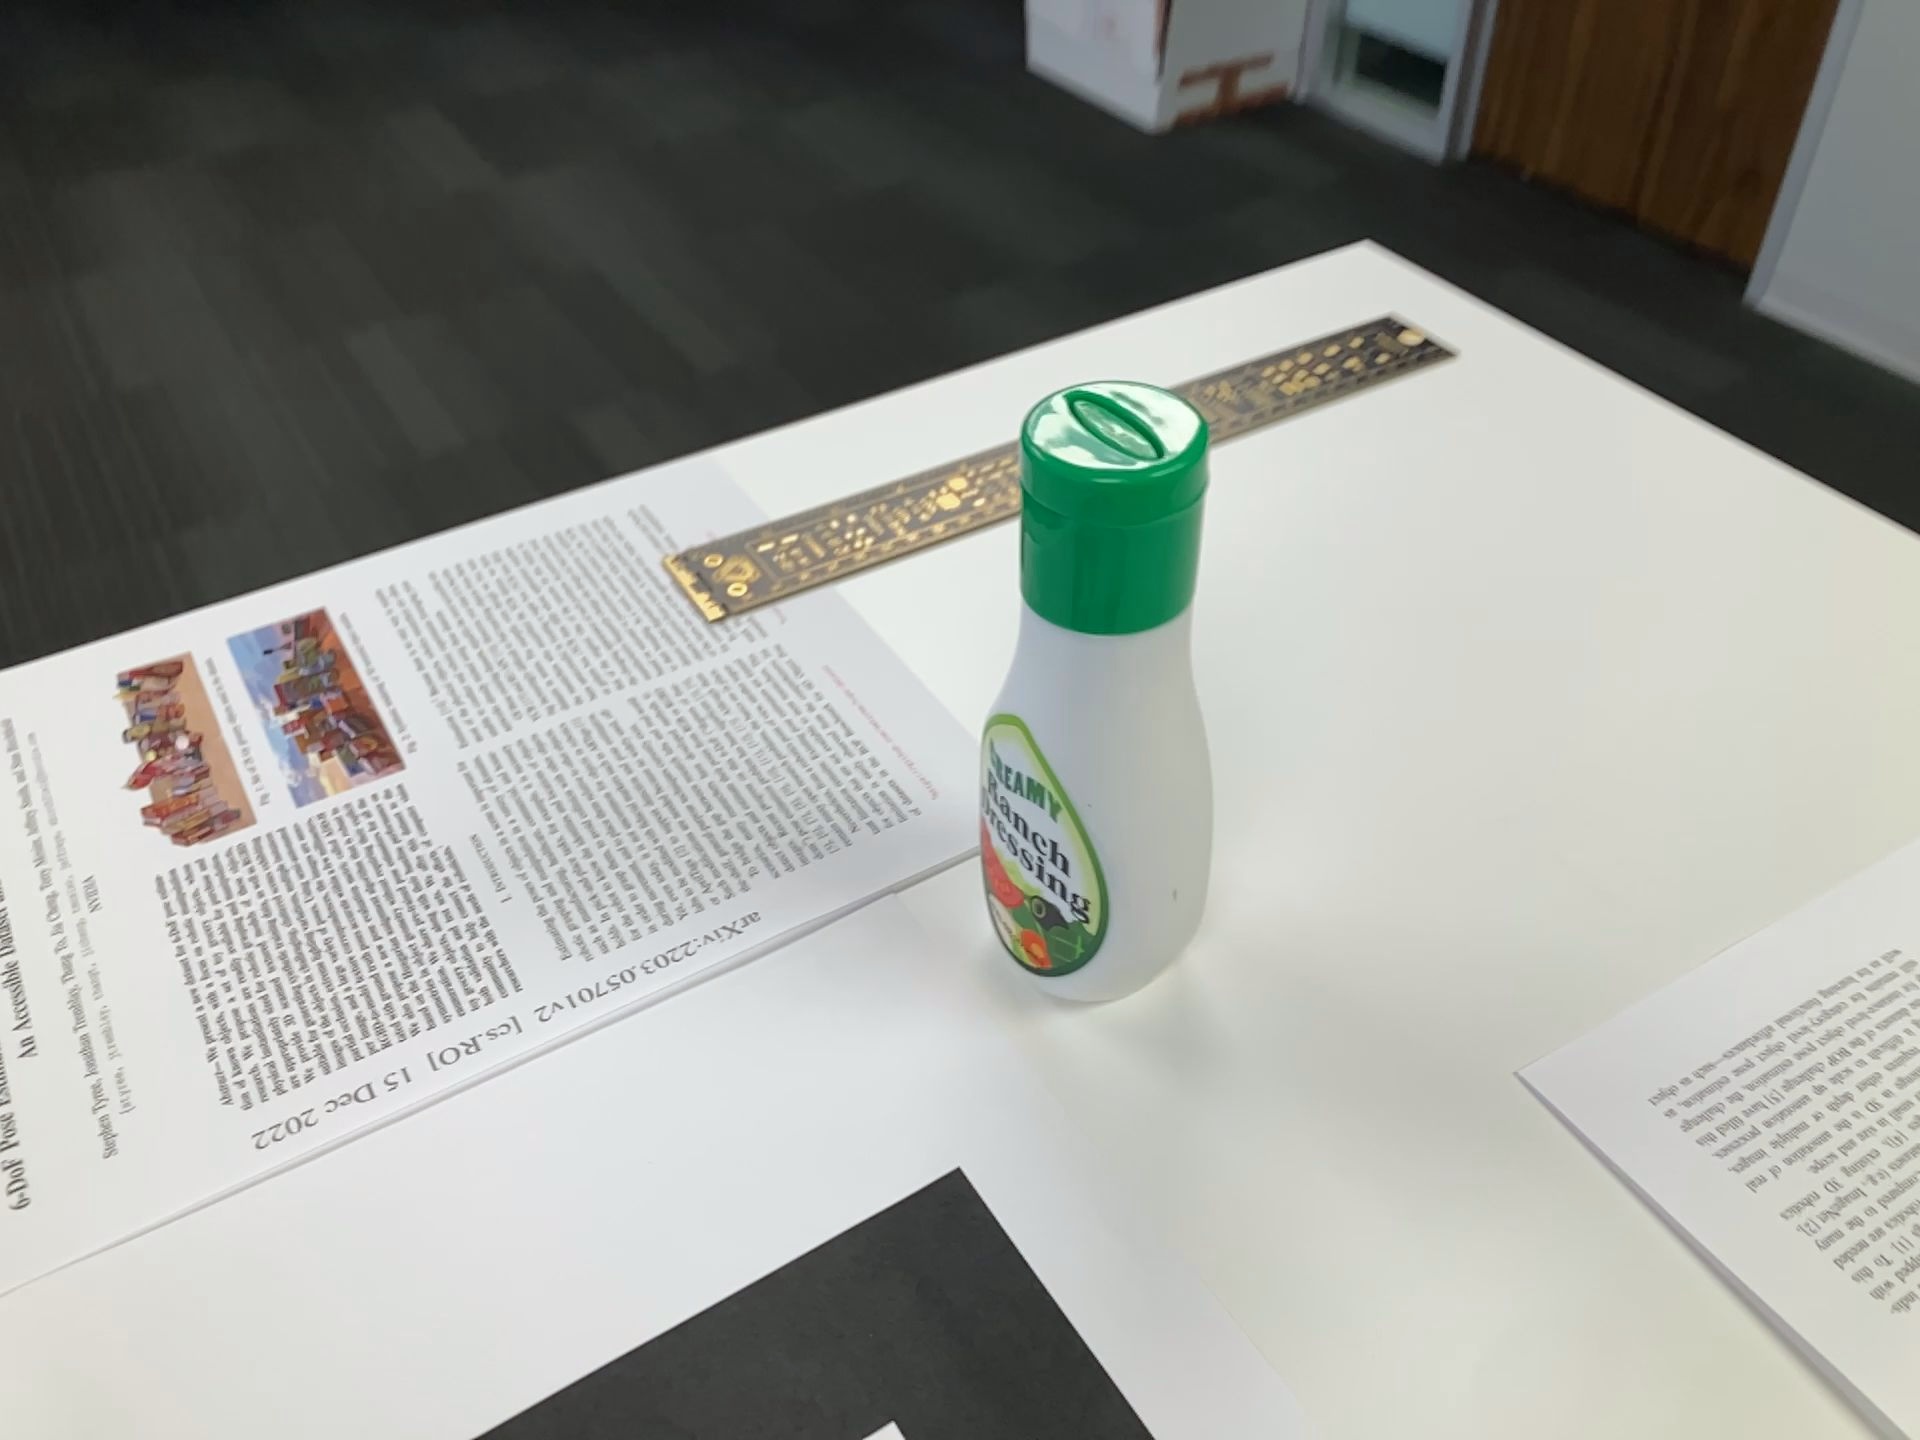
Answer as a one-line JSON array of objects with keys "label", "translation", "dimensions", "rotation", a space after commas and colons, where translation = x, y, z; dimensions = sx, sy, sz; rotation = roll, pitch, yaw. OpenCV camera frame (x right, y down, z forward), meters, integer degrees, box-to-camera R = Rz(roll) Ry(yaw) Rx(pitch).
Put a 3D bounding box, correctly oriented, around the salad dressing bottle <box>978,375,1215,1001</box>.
[{"label": "salad dressing bottle", "translation": [0.030, -0.002, 0.348], "dimensions": [0.044, 0.147, 0.064], "rotation": [-22, 45, -23]}]
